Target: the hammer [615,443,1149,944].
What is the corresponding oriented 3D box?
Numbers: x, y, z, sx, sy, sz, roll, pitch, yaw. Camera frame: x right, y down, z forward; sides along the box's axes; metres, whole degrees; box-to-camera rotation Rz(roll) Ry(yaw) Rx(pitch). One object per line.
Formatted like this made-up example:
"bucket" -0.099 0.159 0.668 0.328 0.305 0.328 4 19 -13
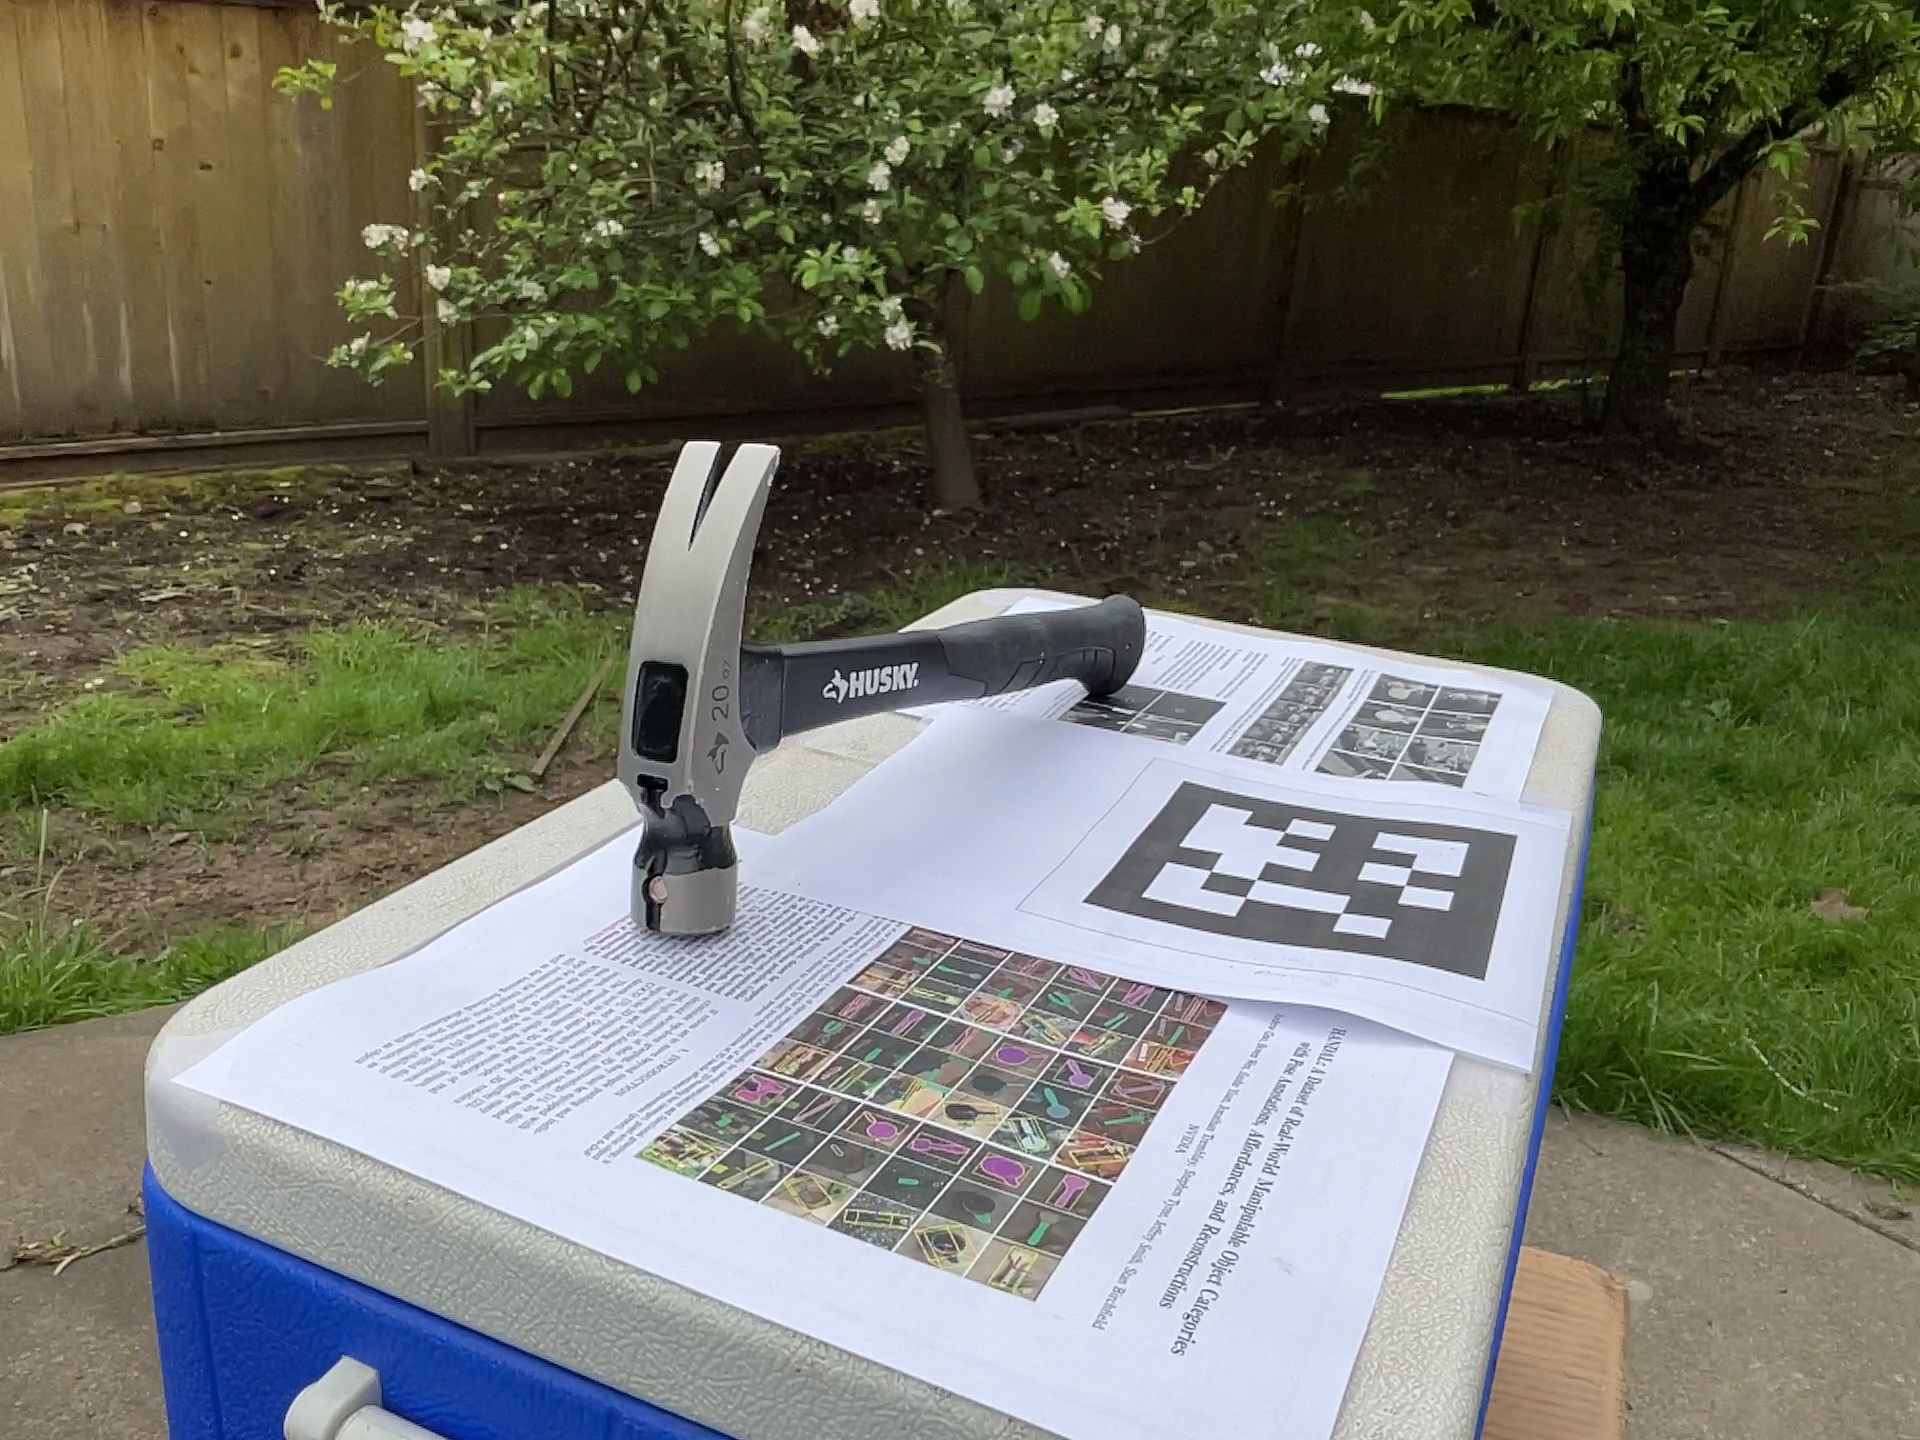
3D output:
"hammer" -0.006 -0.025 0.603 0.035 0.146 0.334 9 10 29
